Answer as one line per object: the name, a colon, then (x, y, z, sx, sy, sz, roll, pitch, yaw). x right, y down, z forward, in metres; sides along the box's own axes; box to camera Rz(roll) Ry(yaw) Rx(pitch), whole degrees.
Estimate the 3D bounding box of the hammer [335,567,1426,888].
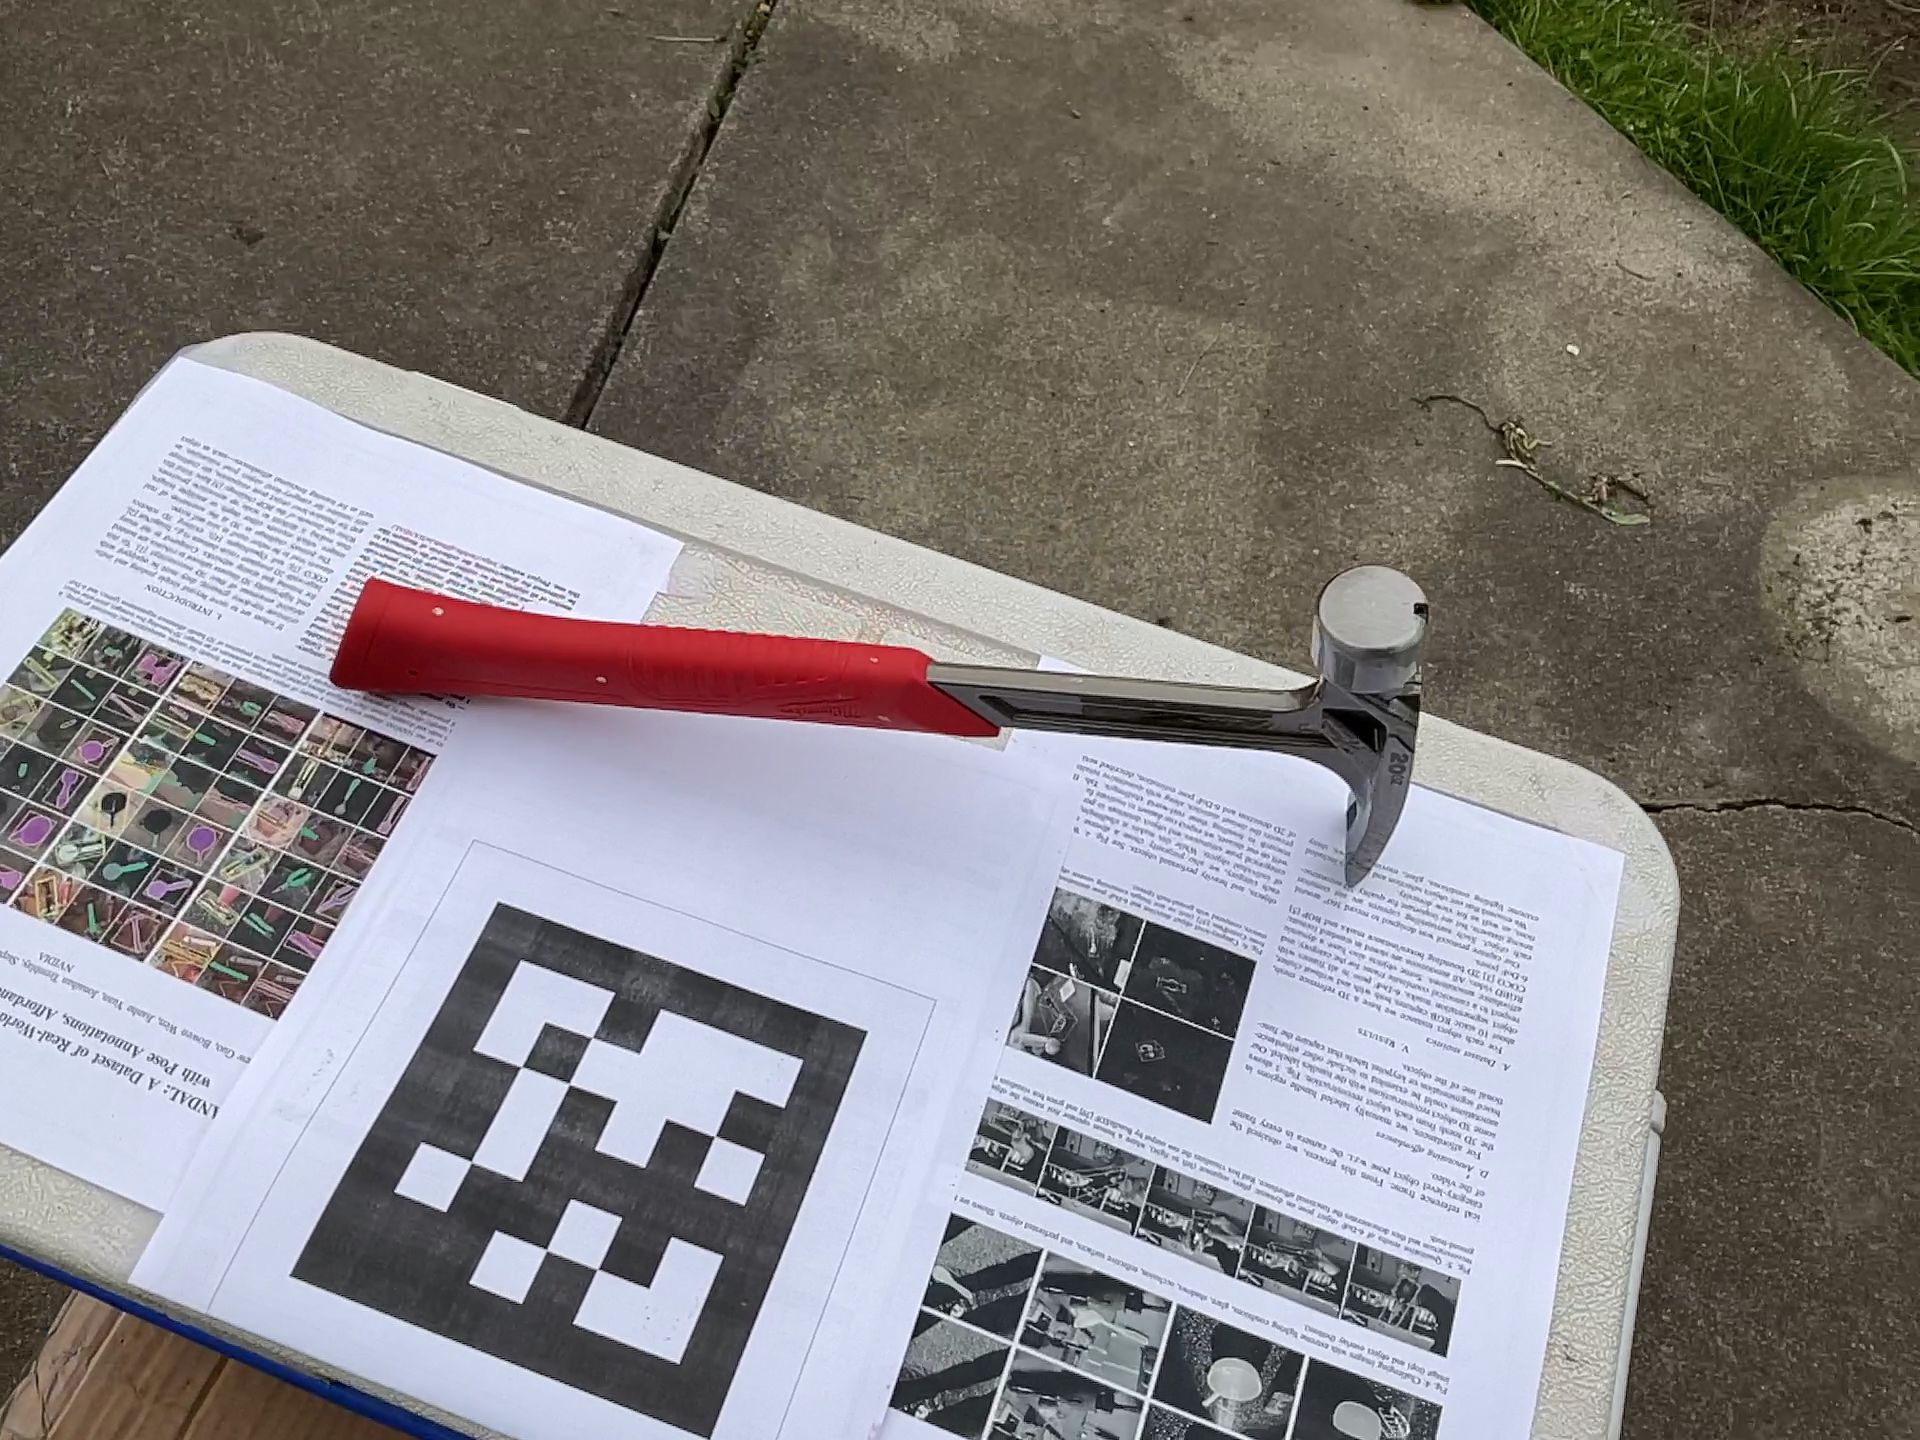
hammer: (-0.035, -0.007, 0.532, 0.359, 0.149, 0.037, 5, 60, 11)
